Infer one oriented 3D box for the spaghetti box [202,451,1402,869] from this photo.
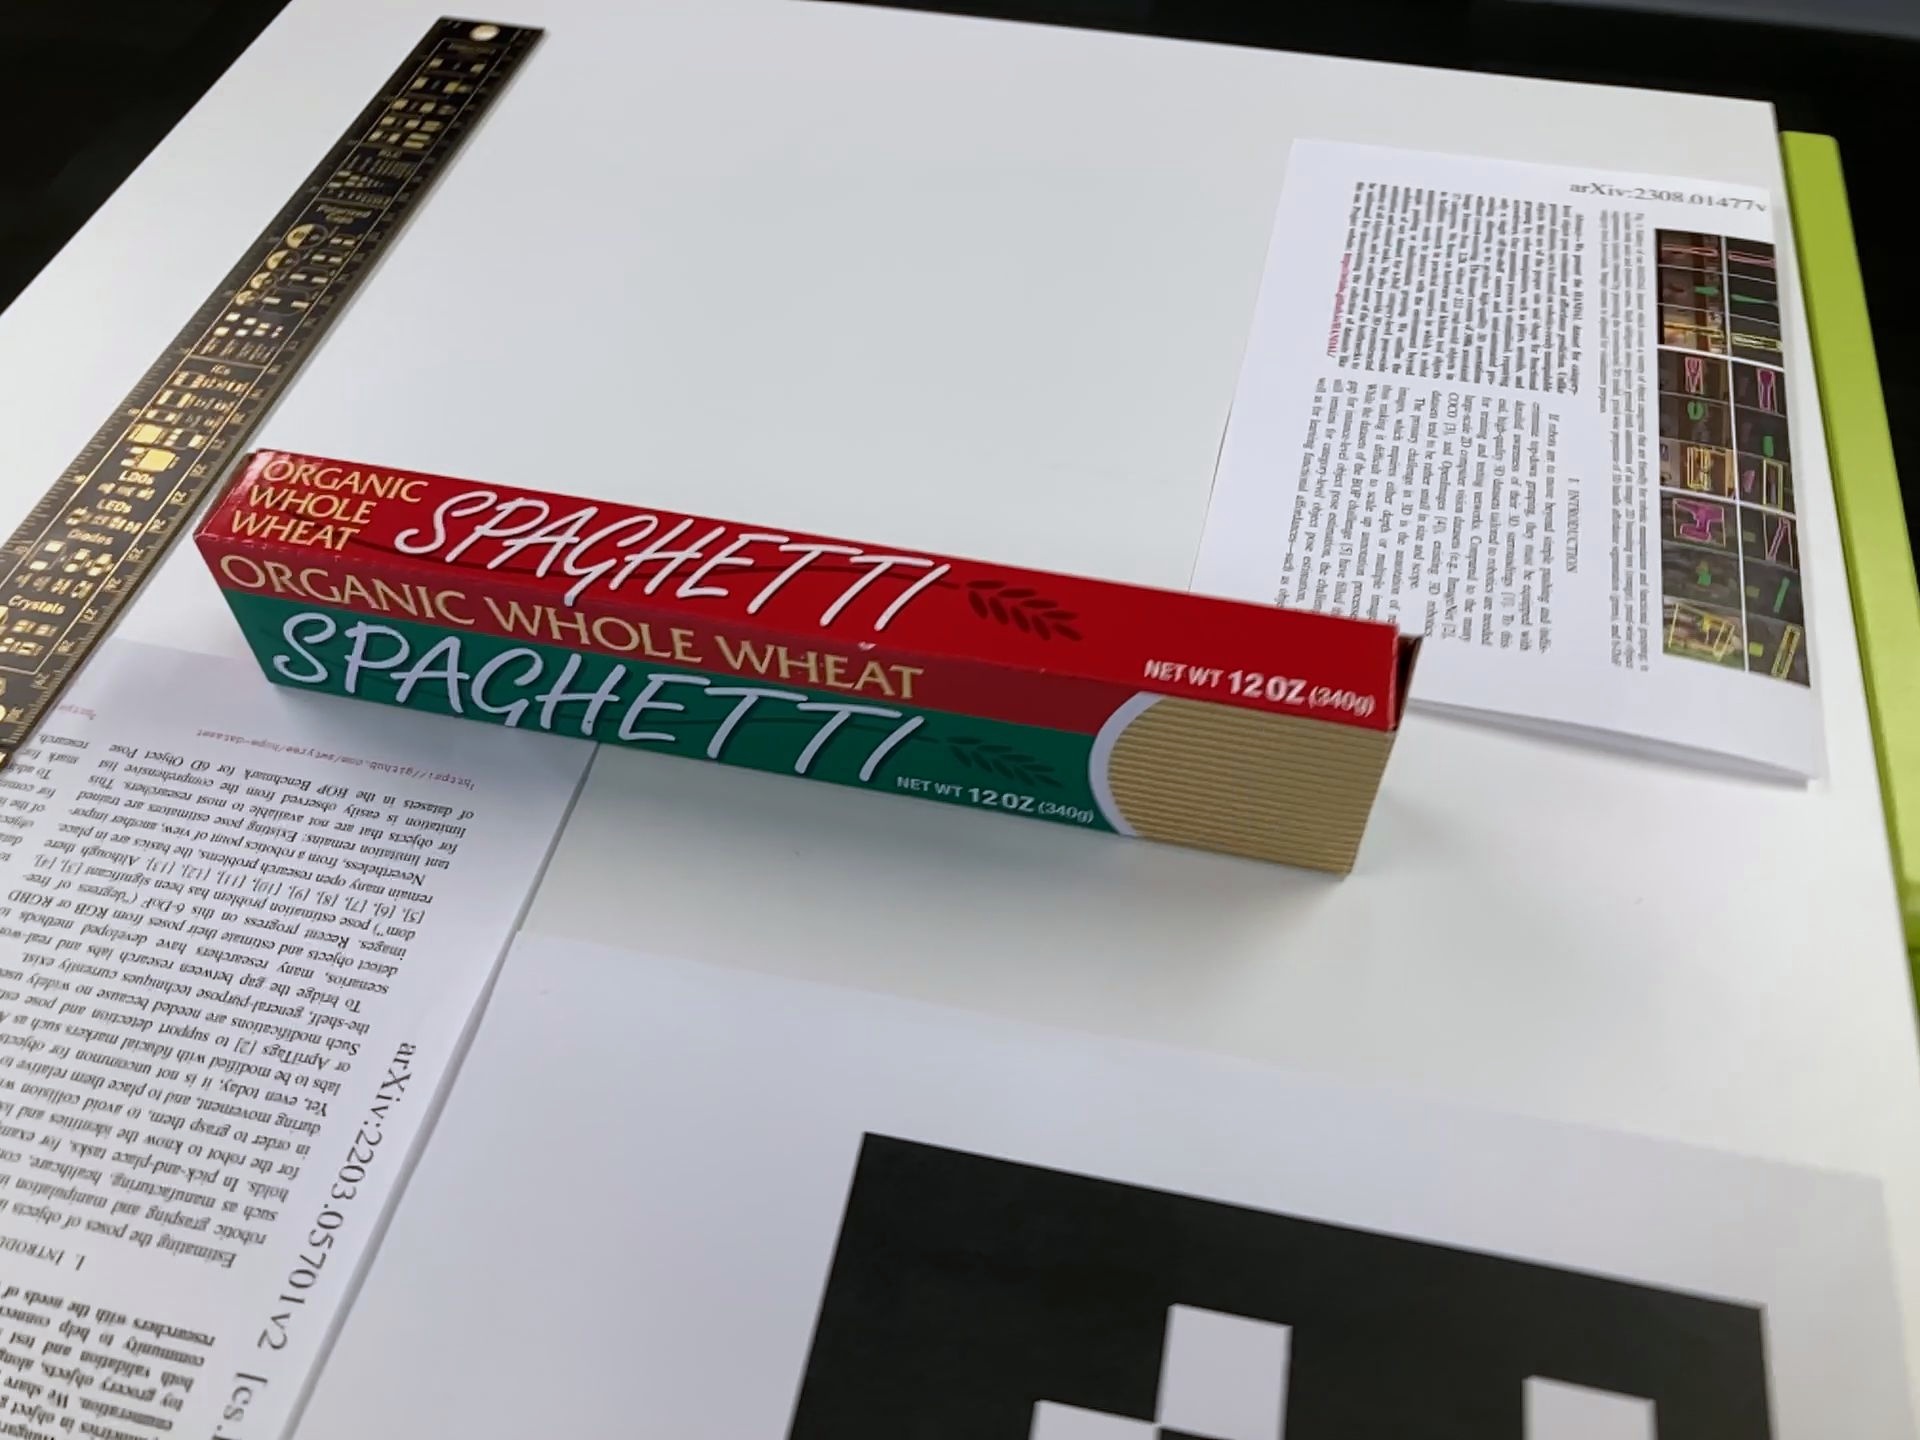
[{"bbox_3d":[-0.038,-0.014,0.340,0.250,0.050,0.028,9,51,8],"label":"spaghetti box"}]
